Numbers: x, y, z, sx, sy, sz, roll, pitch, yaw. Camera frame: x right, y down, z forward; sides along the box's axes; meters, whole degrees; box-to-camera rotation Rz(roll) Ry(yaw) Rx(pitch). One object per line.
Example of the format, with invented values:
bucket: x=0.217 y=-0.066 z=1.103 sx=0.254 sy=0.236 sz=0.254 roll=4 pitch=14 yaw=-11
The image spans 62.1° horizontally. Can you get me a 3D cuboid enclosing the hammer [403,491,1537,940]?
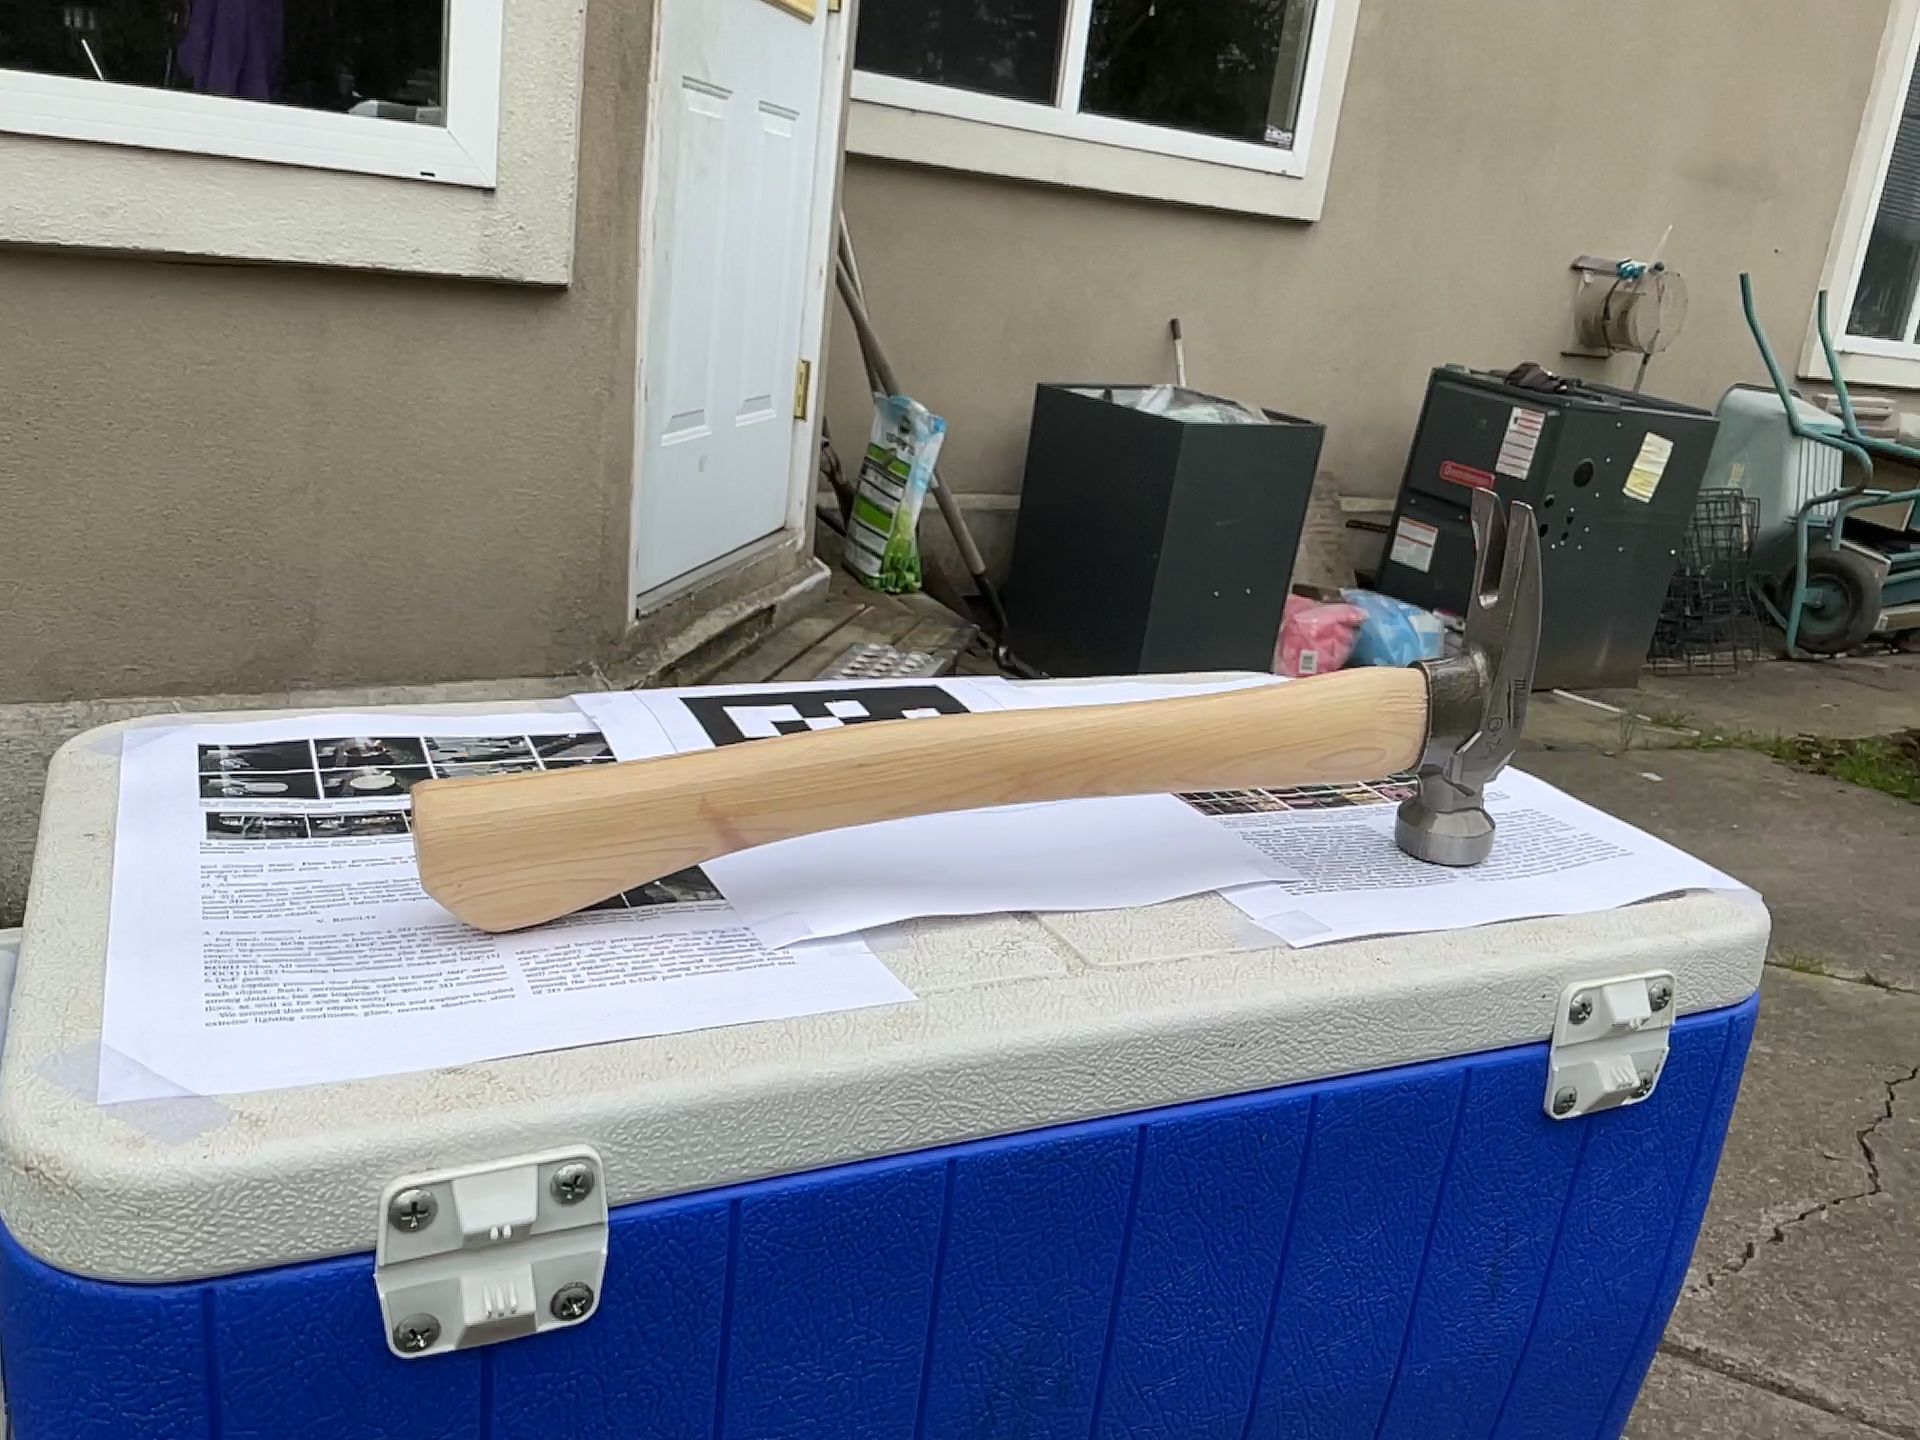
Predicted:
hammer: x=0.024 y=0.006 z=0.551 sx=0.410 sy=0.146 sz=0.038 roll=-7 pitch=22 yaw=-21
